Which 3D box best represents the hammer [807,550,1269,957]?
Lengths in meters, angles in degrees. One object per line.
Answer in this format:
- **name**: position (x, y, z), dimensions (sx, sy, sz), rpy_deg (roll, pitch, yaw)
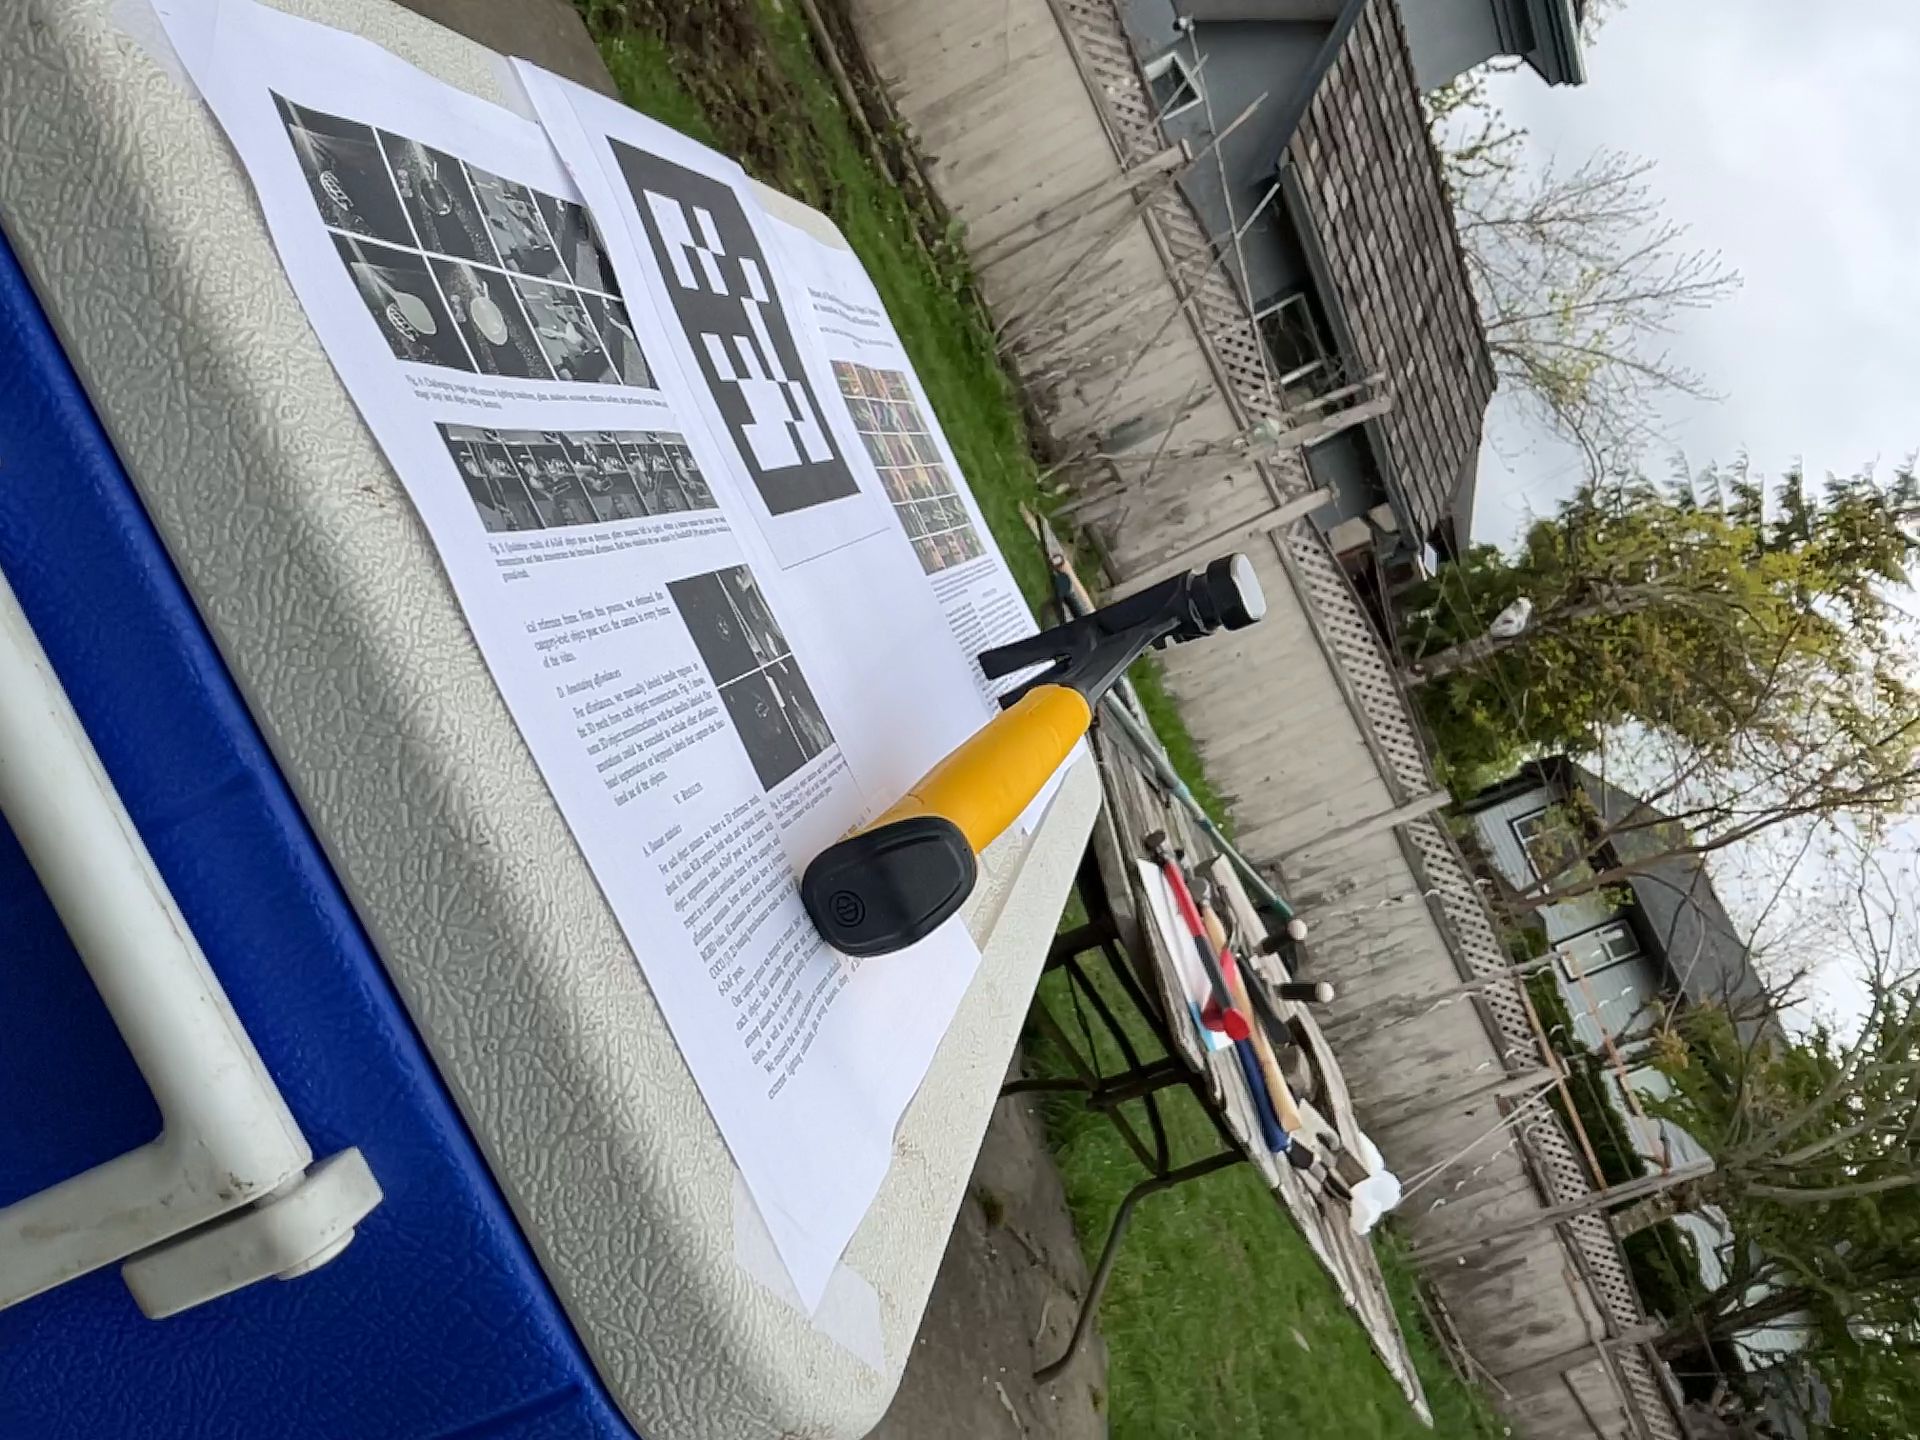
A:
- **hammer**: position (0.022, 0.004, 0.549), dimensions (0.034, 0.127, 0.337), rpy_deg (65, 23, -6)
